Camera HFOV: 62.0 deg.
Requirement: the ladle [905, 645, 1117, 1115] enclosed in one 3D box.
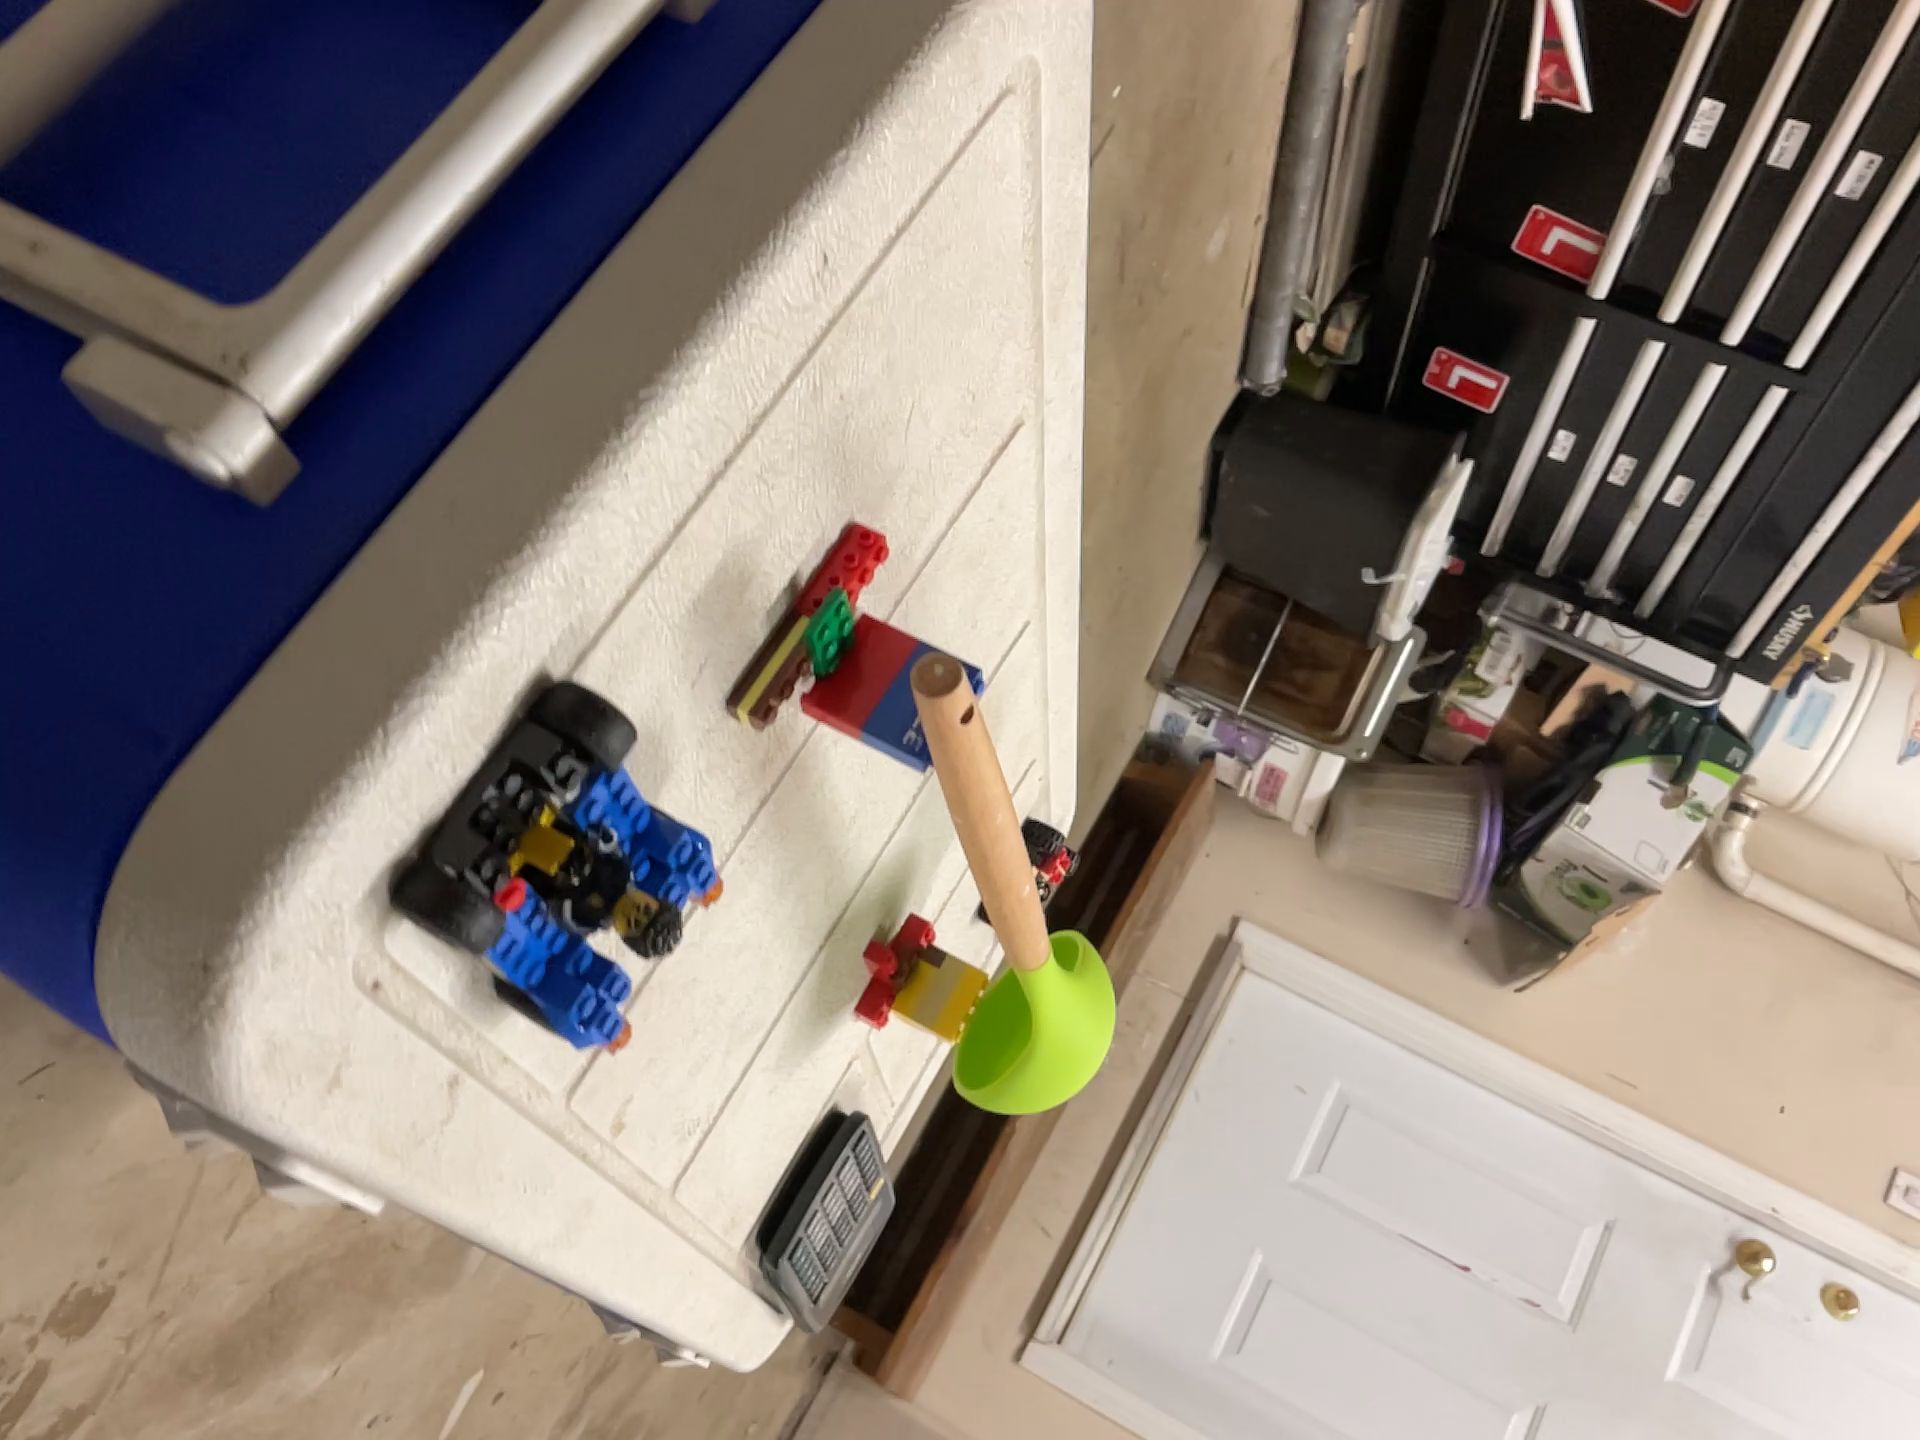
[{"bbox_3d":[0.009,0.059,0.517,0.078,0.062,0.320,-52,155,-18],"label":"ladle"}]
